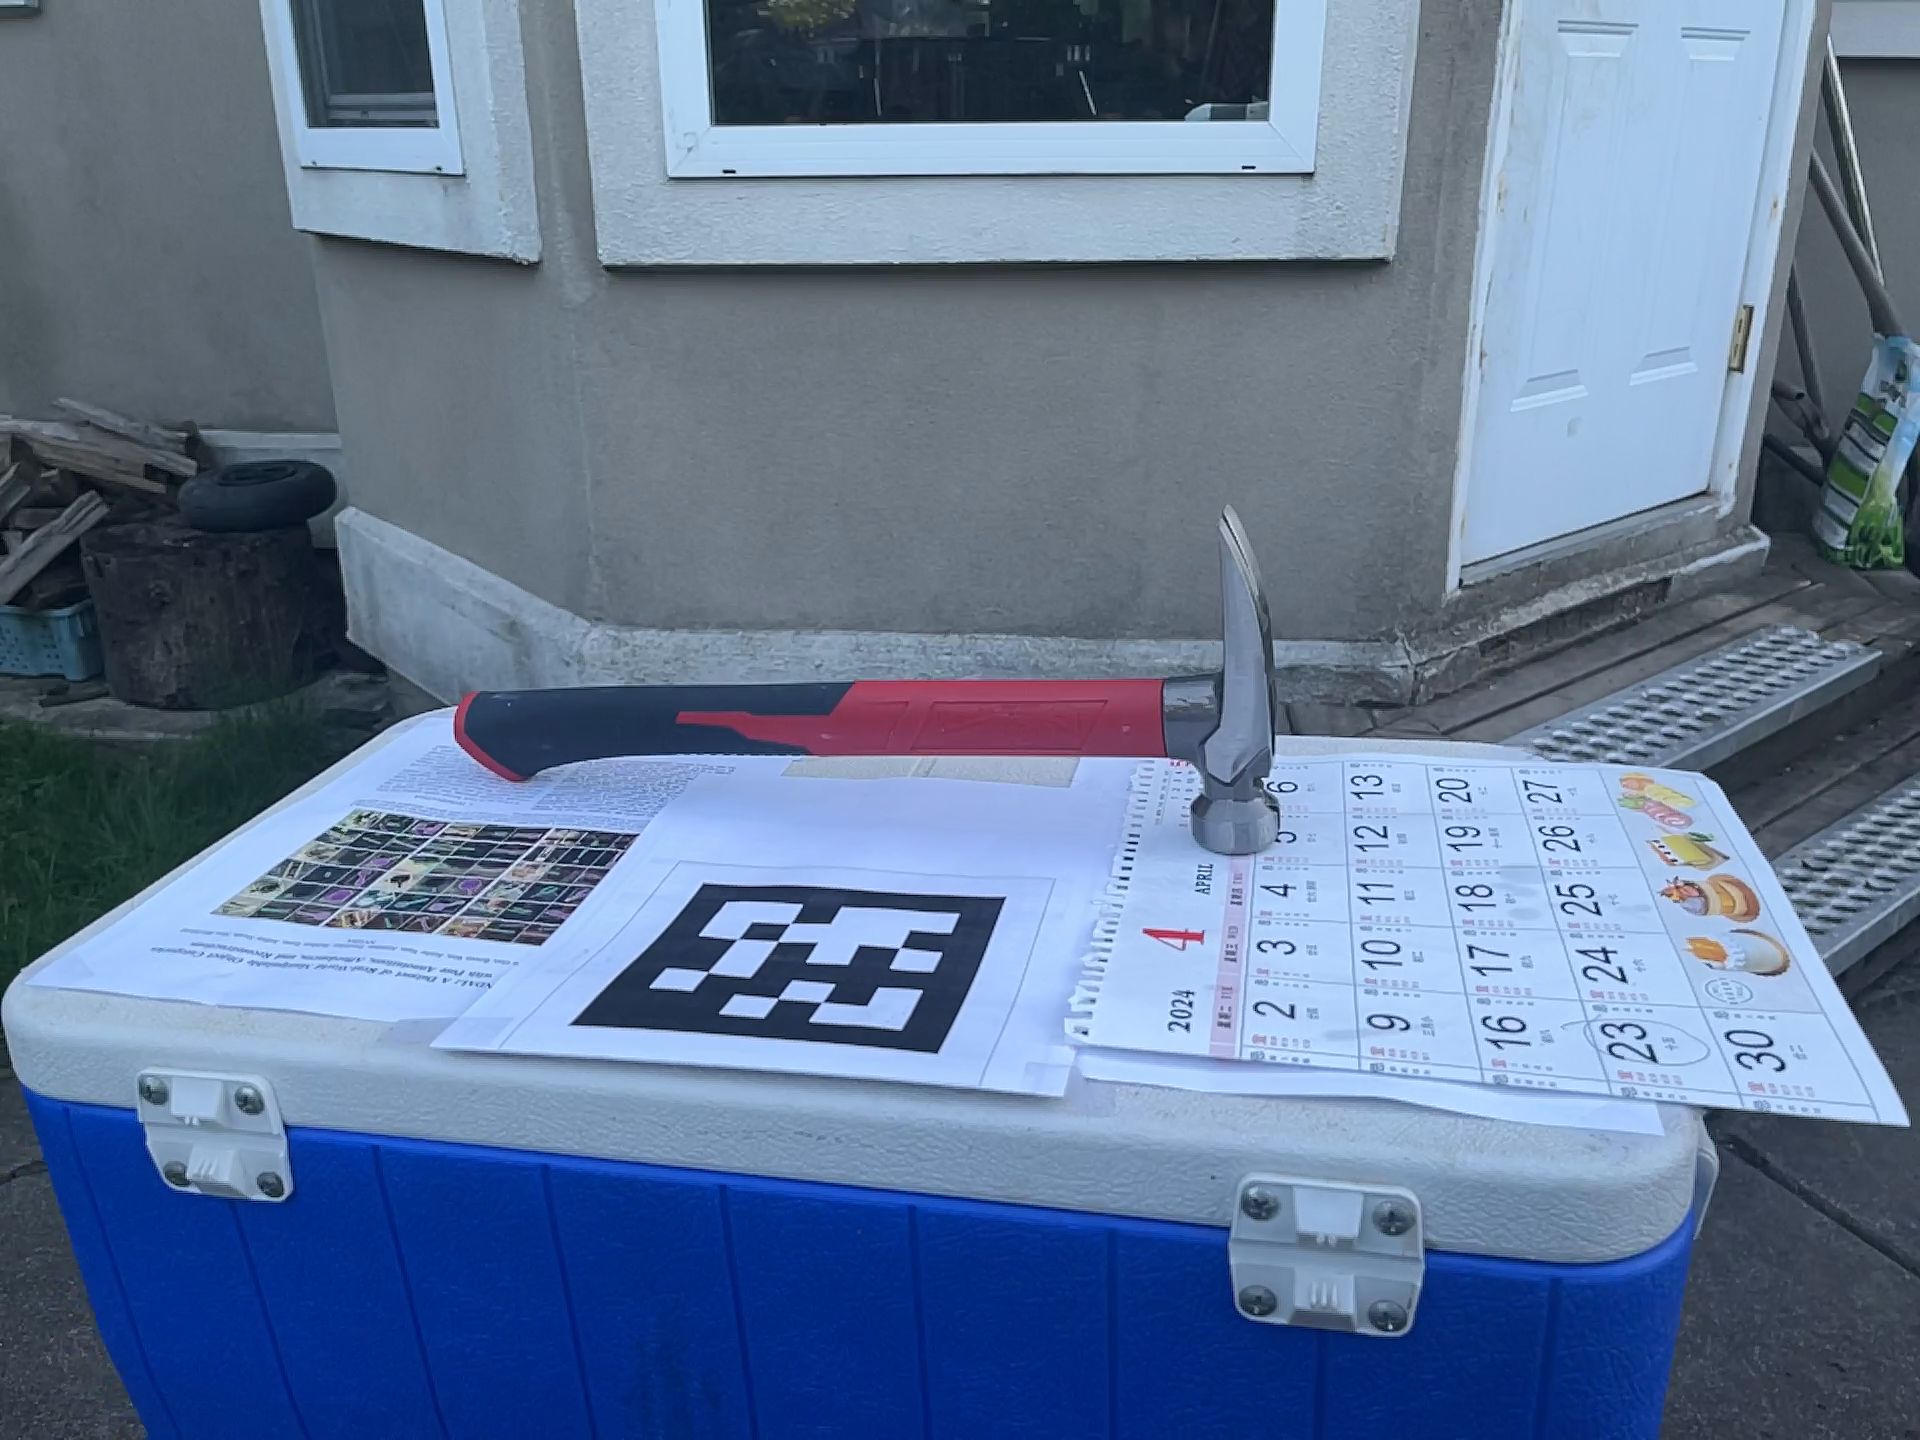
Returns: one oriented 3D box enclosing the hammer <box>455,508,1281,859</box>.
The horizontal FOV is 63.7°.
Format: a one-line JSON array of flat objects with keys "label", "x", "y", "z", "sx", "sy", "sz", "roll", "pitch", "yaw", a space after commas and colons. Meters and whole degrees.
[{"label": "hammer", "x": -0.057, "y": -0.014, "z": 0.688, "sx": 0.386, "sy": 0.143, "sz": 0.038, "roll": 0, "pitch": 21, "yaw": 18}]
